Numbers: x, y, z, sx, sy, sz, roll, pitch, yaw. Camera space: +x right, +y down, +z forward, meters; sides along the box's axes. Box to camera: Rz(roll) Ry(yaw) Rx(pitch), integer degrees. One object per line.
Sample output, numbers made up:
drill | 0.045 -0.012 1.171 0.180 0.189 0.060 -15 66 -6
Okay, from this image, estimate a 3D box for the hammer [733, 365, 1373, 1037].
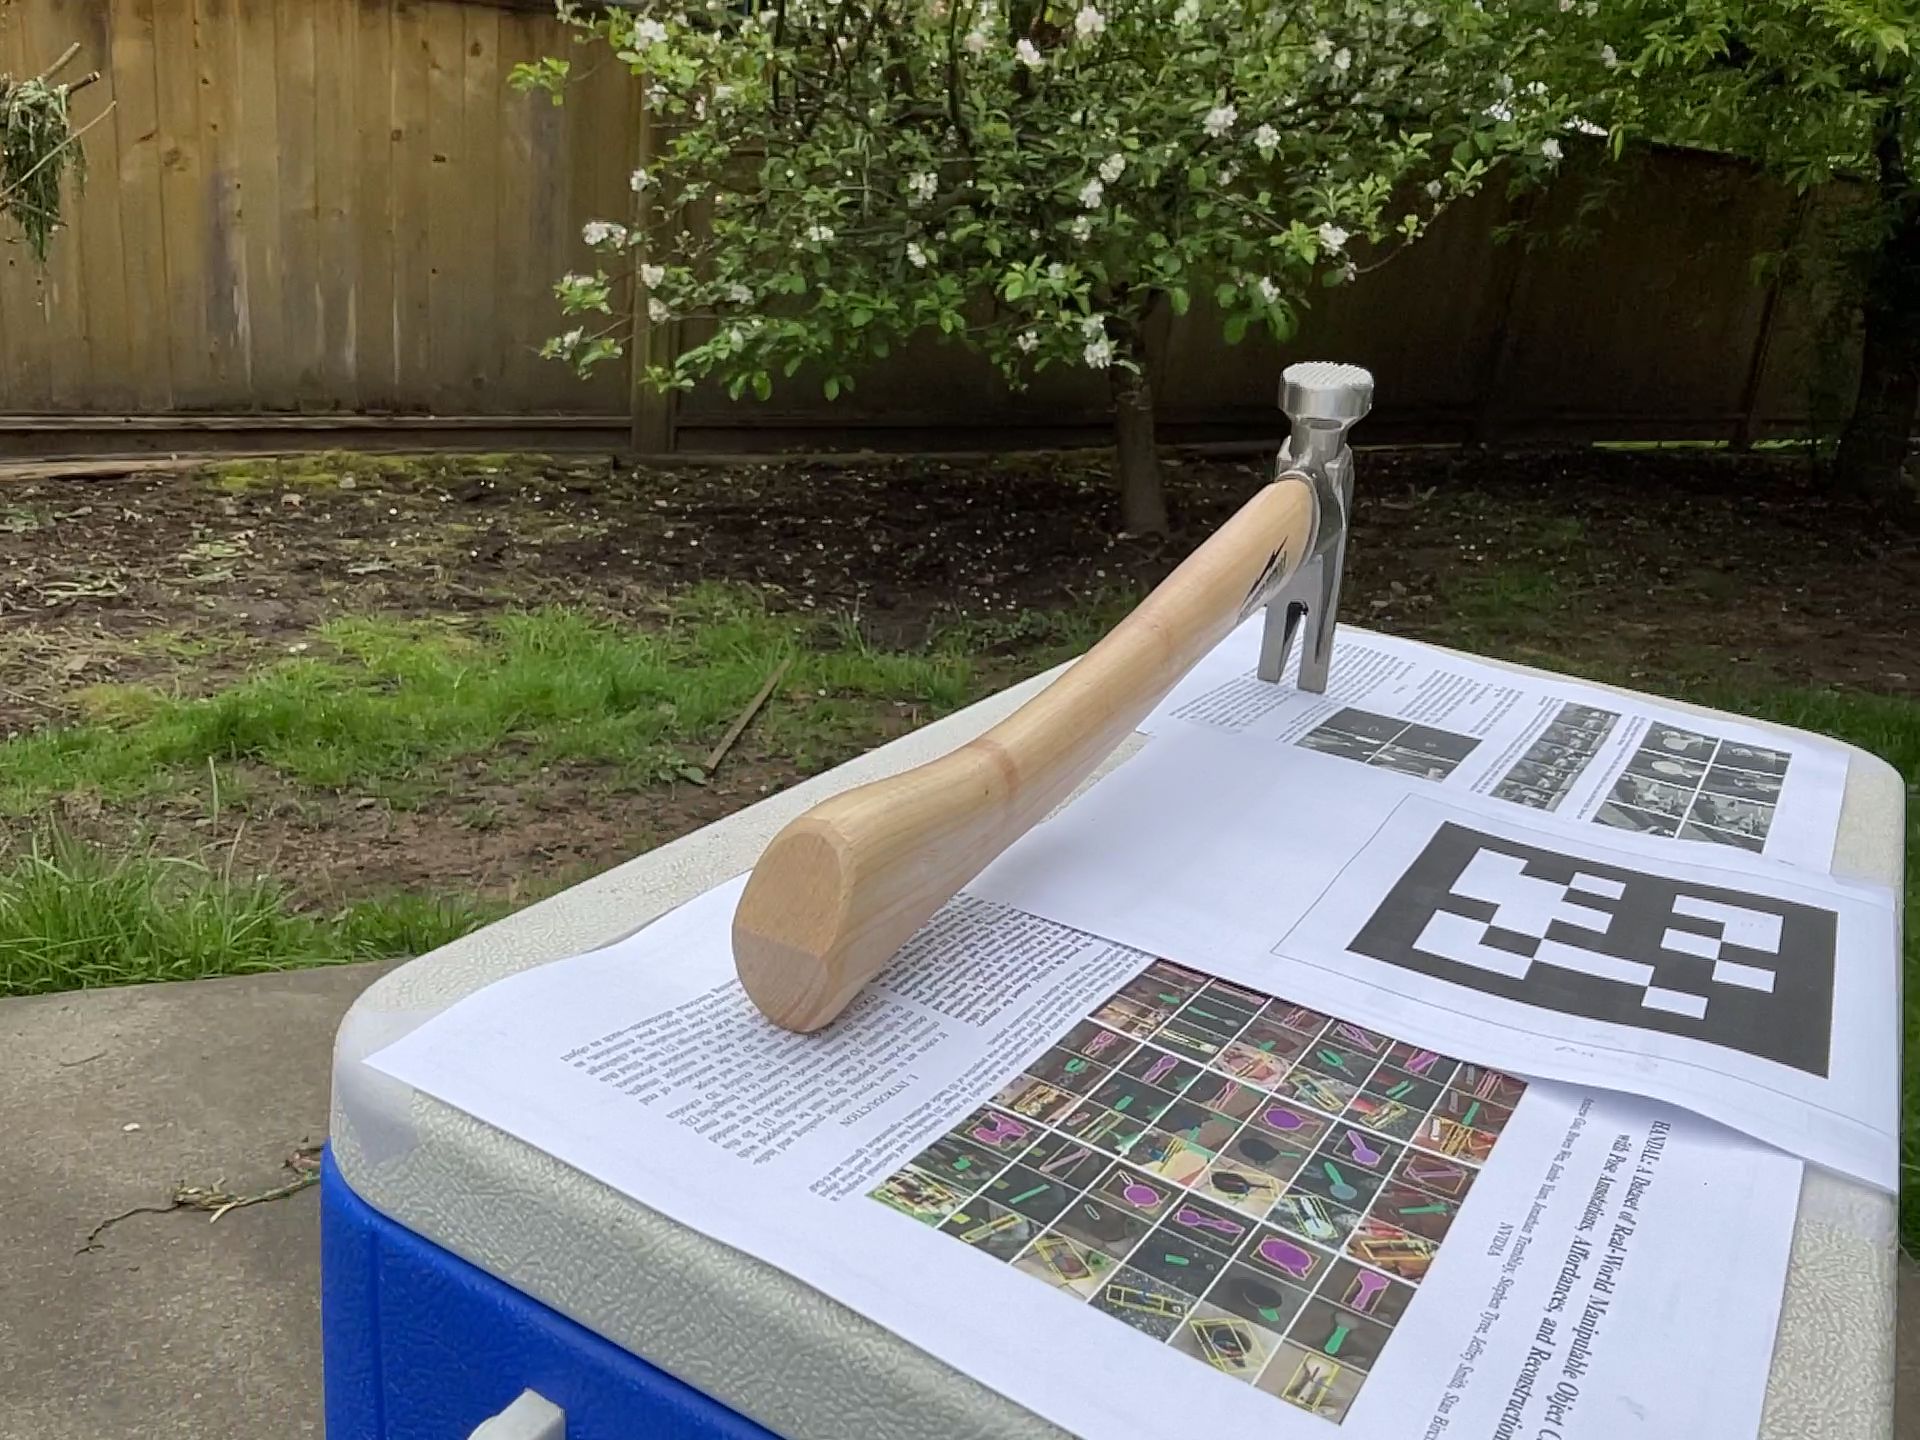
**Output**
hammer | 0.058 -0.007 0.553 0.038 0.146 0.410 15 30 26
